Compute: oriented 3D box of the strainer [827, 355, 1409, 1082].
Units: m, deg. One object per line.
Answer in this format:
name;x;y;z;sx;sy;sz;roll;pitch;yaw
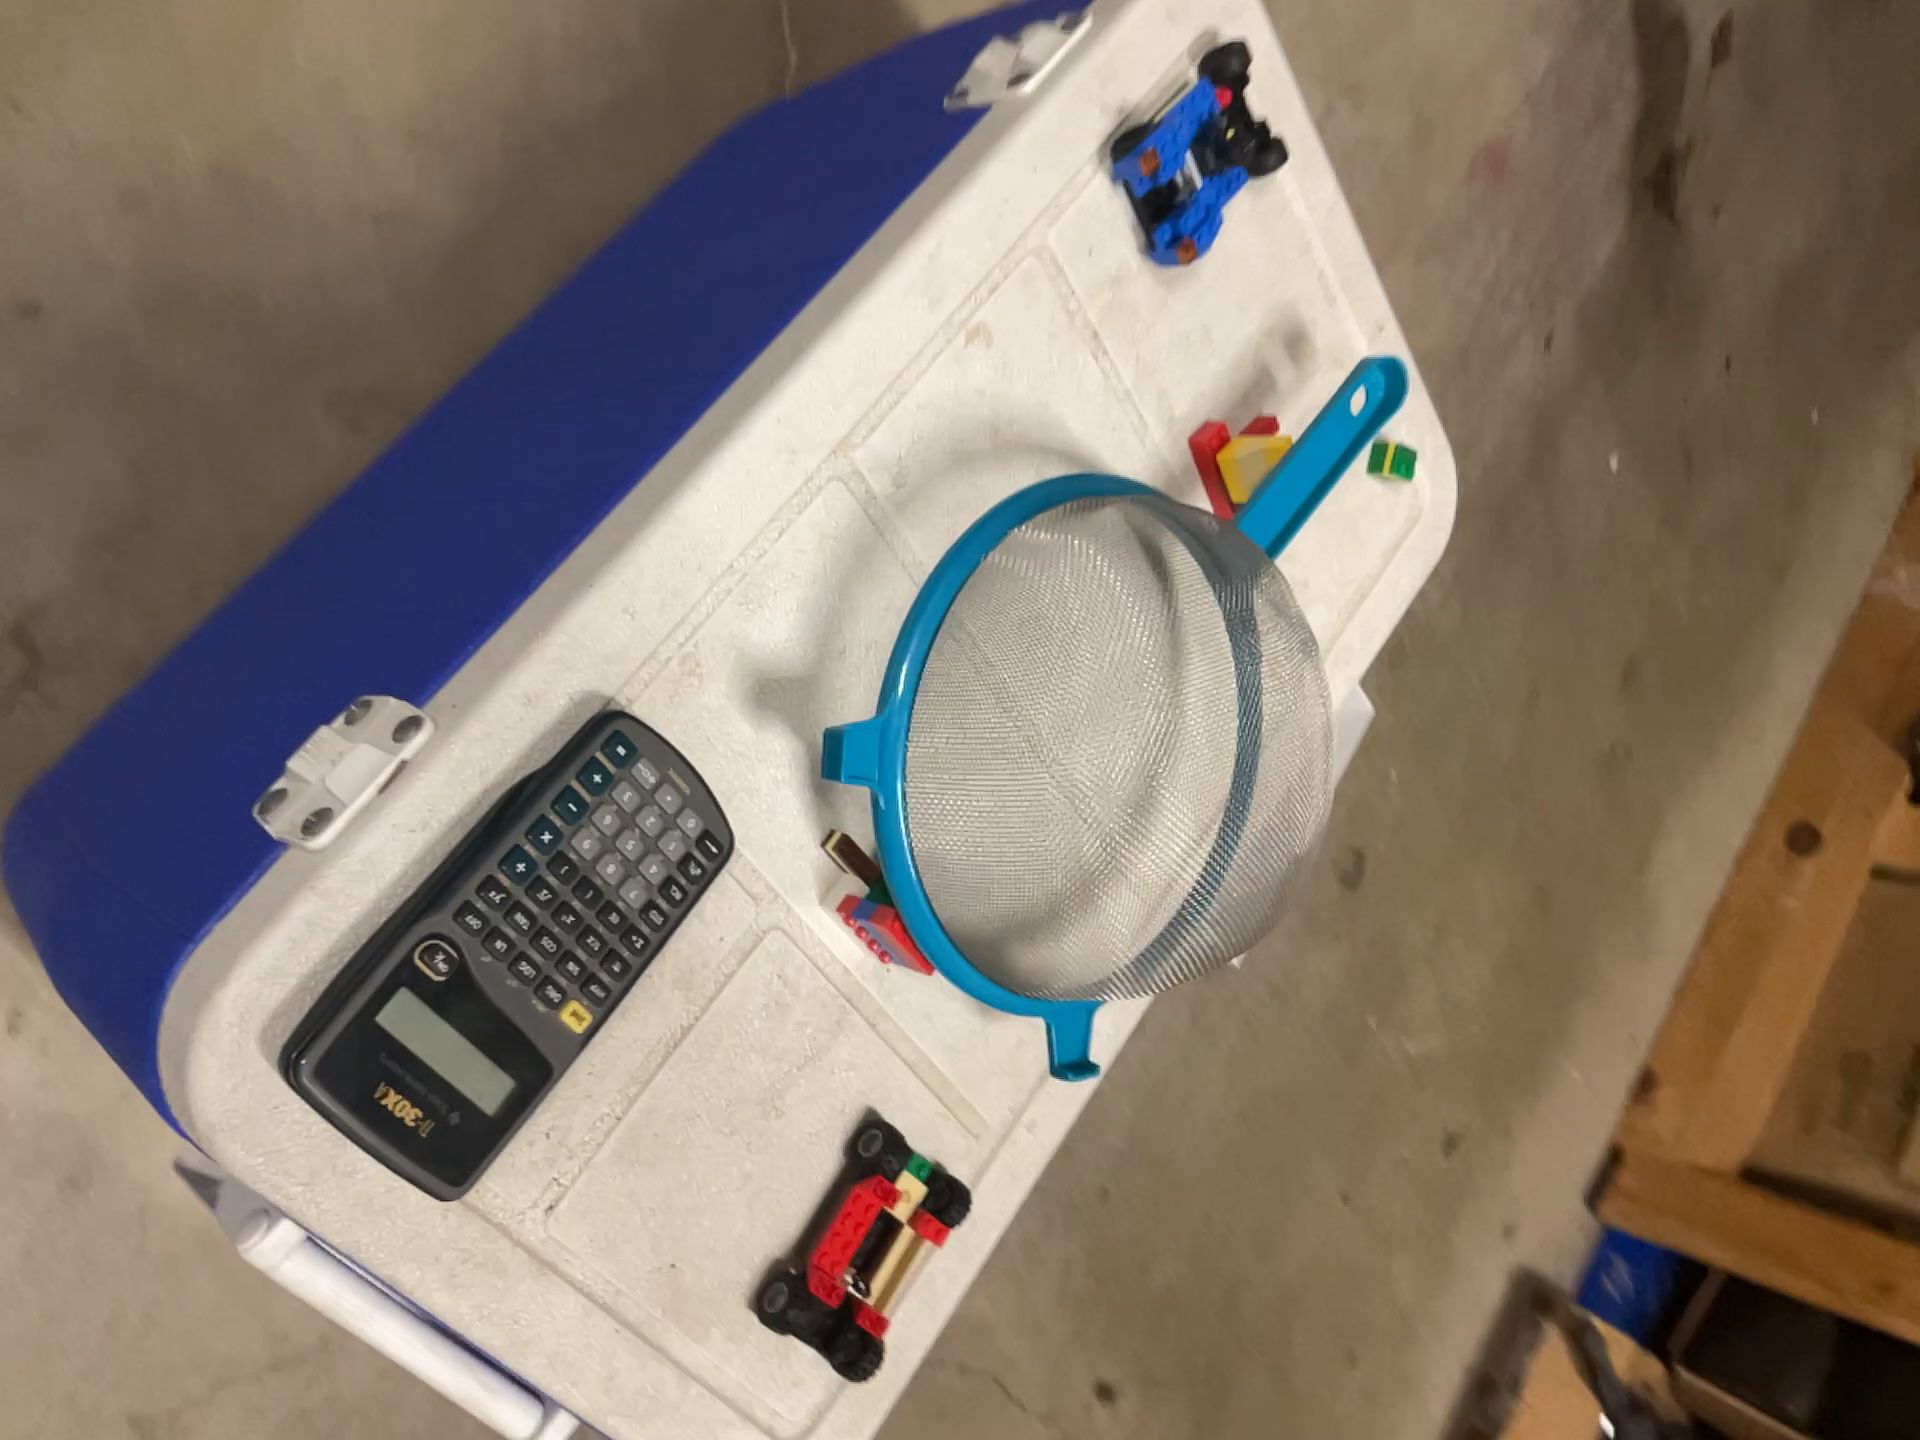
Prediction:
strainer;0.115;-0.030;0.612;0.341;0.095;0.210;-50;126;-23
